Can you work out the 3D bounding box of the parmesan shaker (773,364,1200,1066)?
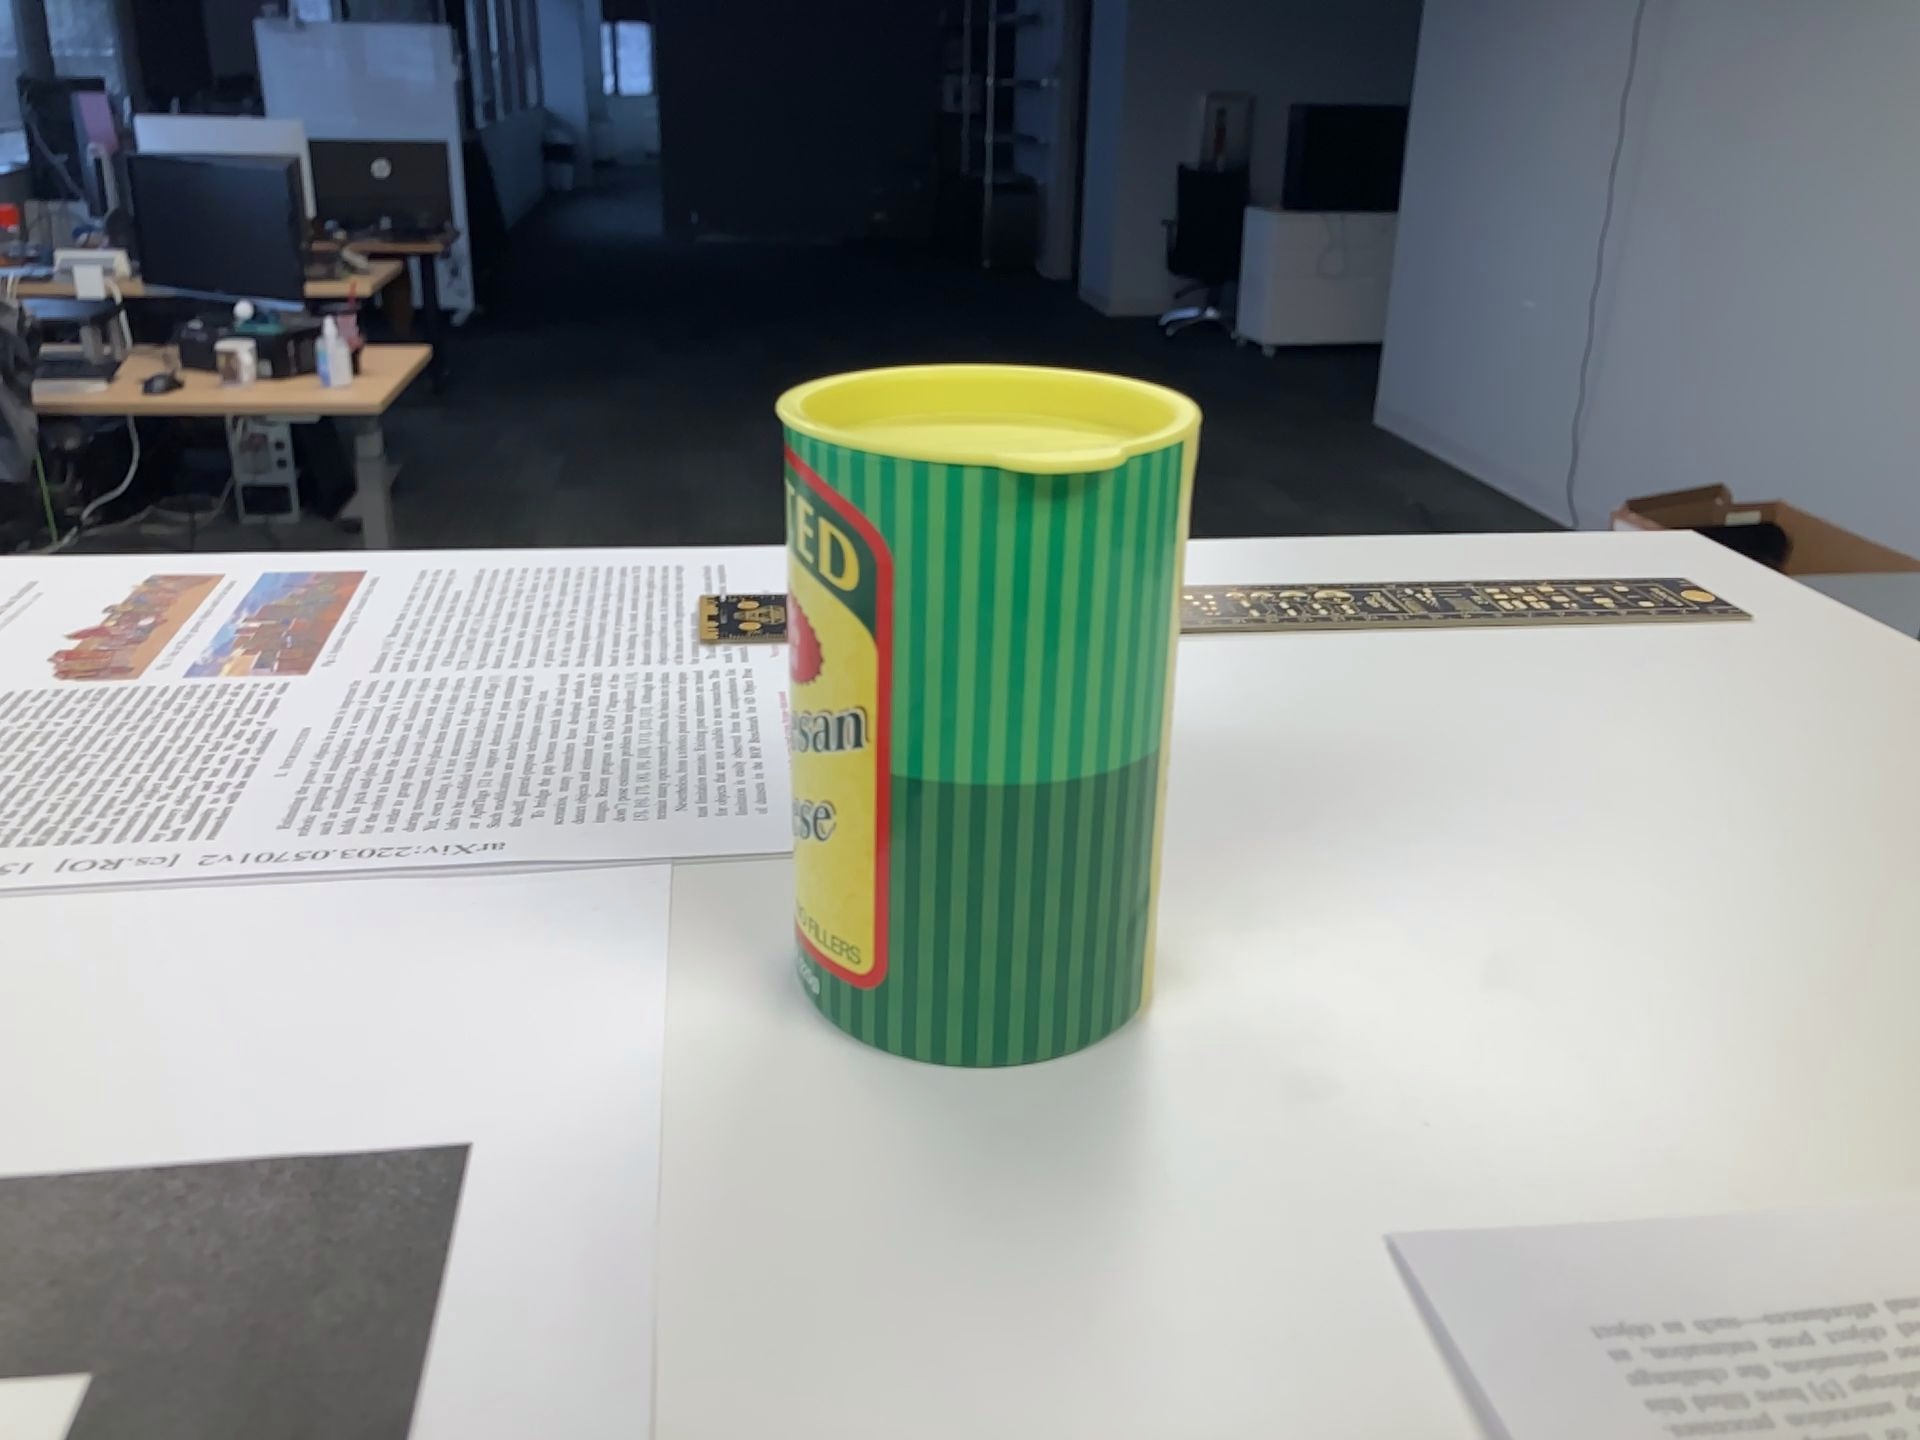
[{"bbox_3d":[0.004,-0.002,0.264,0.071,0.103,0.071,1,21,0],"label":"parmesan shaker"}]
